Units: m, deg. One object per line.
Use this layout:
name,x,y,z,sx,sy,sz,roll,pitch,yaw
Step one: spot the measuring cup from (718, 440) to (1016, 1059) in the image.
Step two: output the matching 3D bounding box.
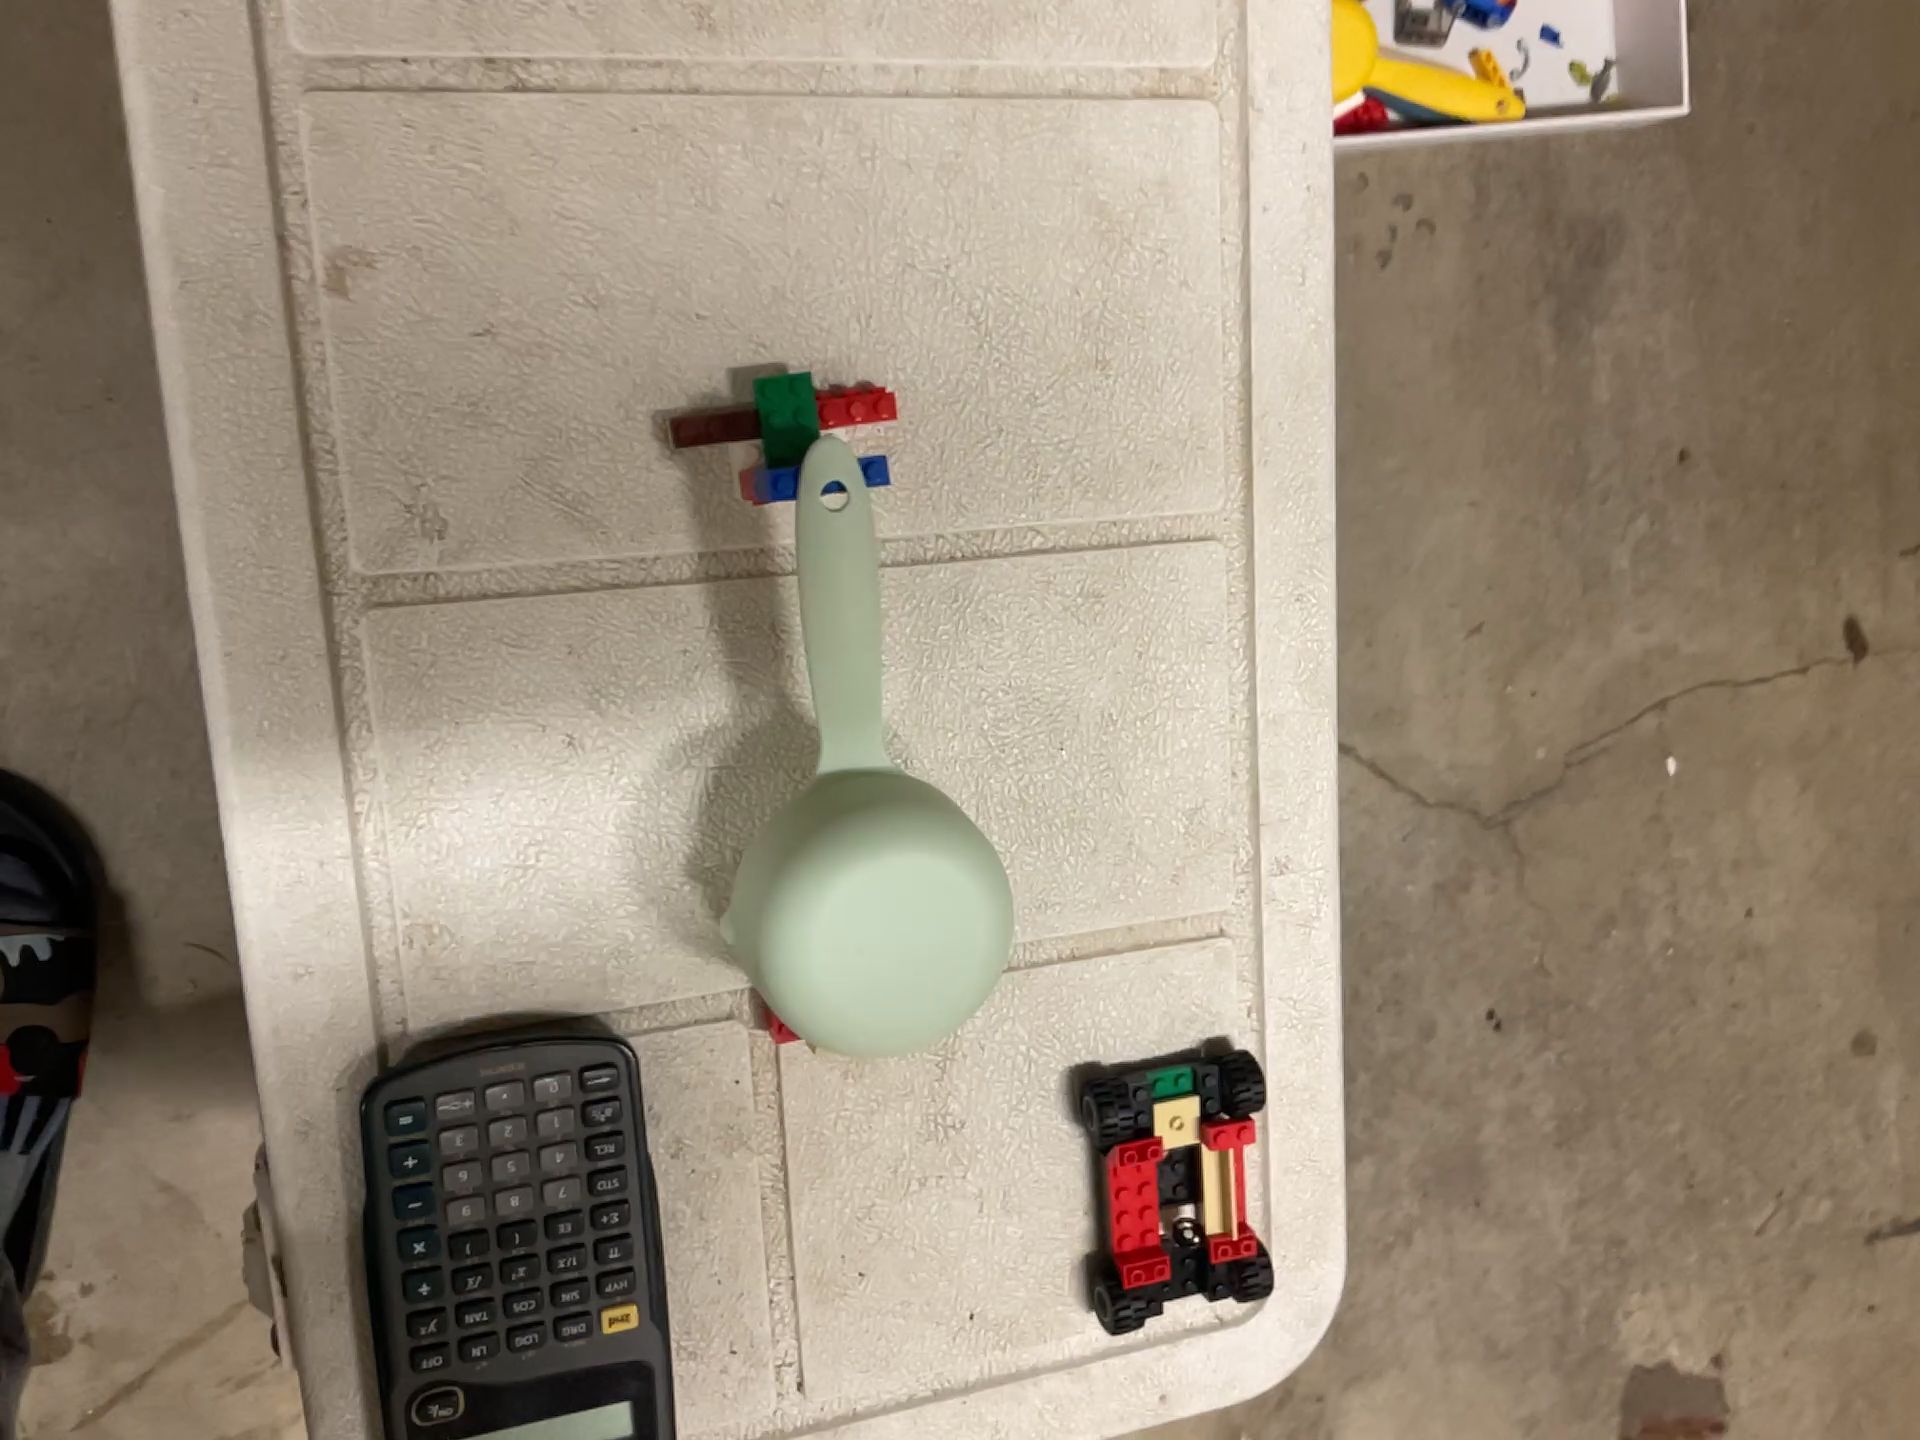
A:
measuring cup,-0.024,0.012,0.423,0.083,0.038,0.167,-9,108,-18
